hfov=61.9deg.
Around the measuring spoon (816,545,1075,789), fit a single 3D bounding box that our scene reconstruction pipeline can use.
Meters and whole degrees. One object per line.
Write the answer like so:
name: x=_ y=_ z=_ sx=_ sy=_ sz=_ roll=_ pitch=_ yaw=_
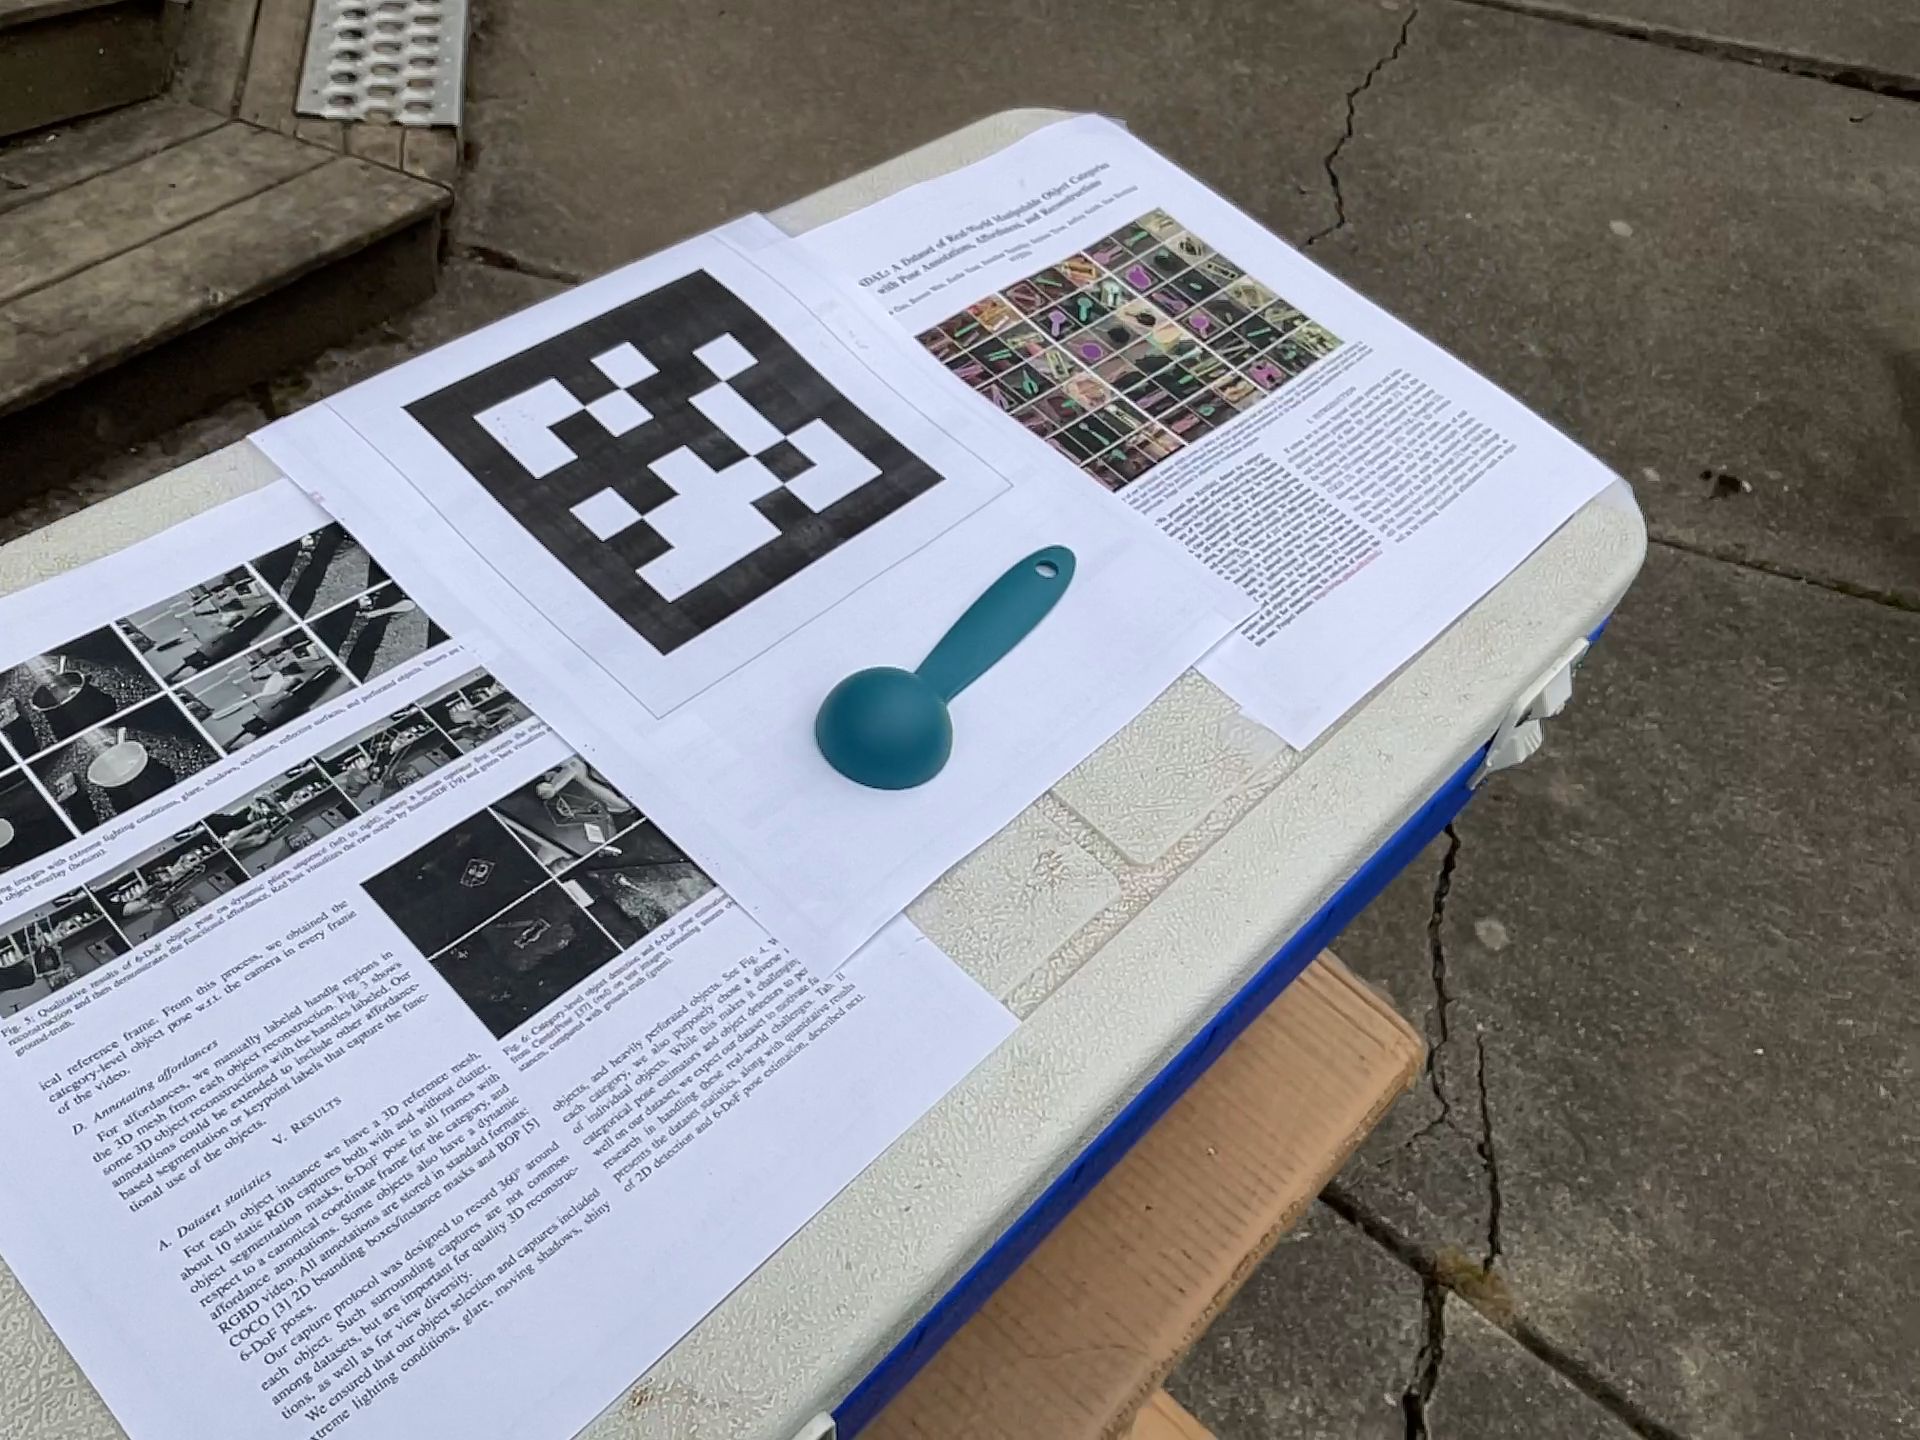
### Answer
measuring spoon: x=0.002 y=-0.027 z=0.510 sx=0.042 sy=0.021 sz=0.129 roll=31 pitch=51 yaw=17
